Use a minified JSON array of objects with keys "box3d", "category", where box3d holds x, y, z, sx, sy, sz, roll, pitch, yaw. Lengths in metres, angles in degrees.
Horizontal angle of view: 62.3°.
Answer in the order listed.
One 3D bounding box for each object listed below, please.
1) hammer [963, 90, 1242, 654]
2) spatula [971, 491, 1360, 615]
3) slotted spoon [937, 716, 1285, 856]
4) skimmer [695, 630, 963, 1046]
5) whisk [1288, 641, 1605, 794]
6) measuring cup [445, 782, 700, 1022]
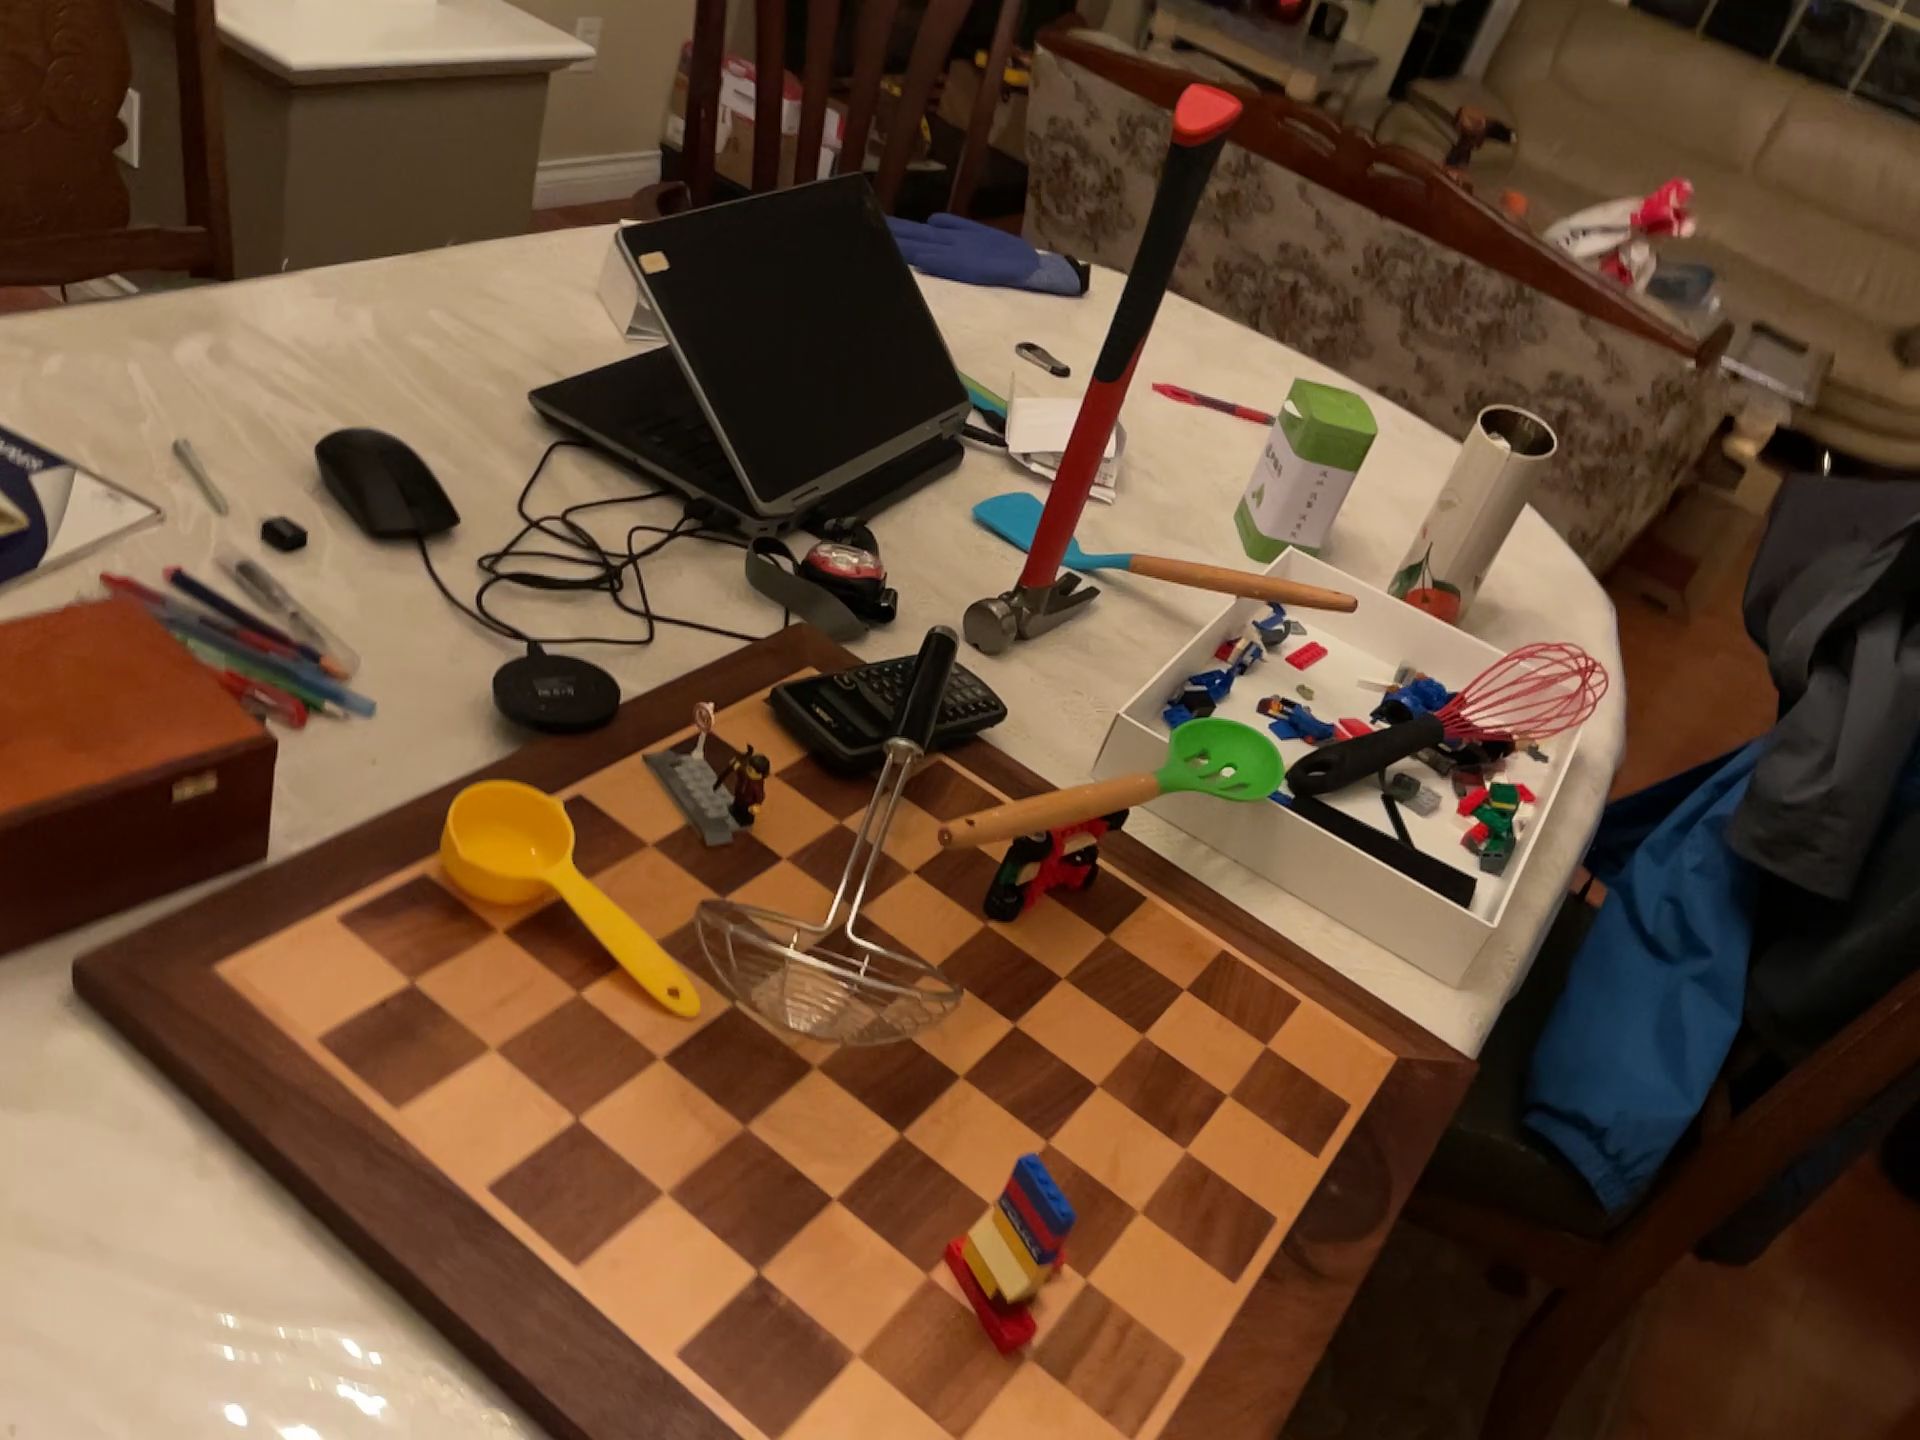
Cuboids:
[{"box3d":[0.106,-0.223,1.064,0.038,0.386,0.143,34,36,21],"category":"hammer"},{"box3d":[0.155,-0.125,1.211,0.318,0.044,0.082,16,25,34],"category":"spatula"},{"box3d":[0.088,0.039,0.869,0.070,0.031,0.313,41,30,26],"category":"slotted spoon"},{"box3d":[-0.036,0.034,0.834,0.127,0.090,0.363,18,37,0],"category":"skimmer"},{"box3d":[0.353,0.002,1.142,0.295,0.073,0.073,-17,29,-25],"category":"whisk"},{"box3d":[-0.182,0.092,0.750,0.157,0.029,0.062,43,35,11],"category":"measuring cup"}]
